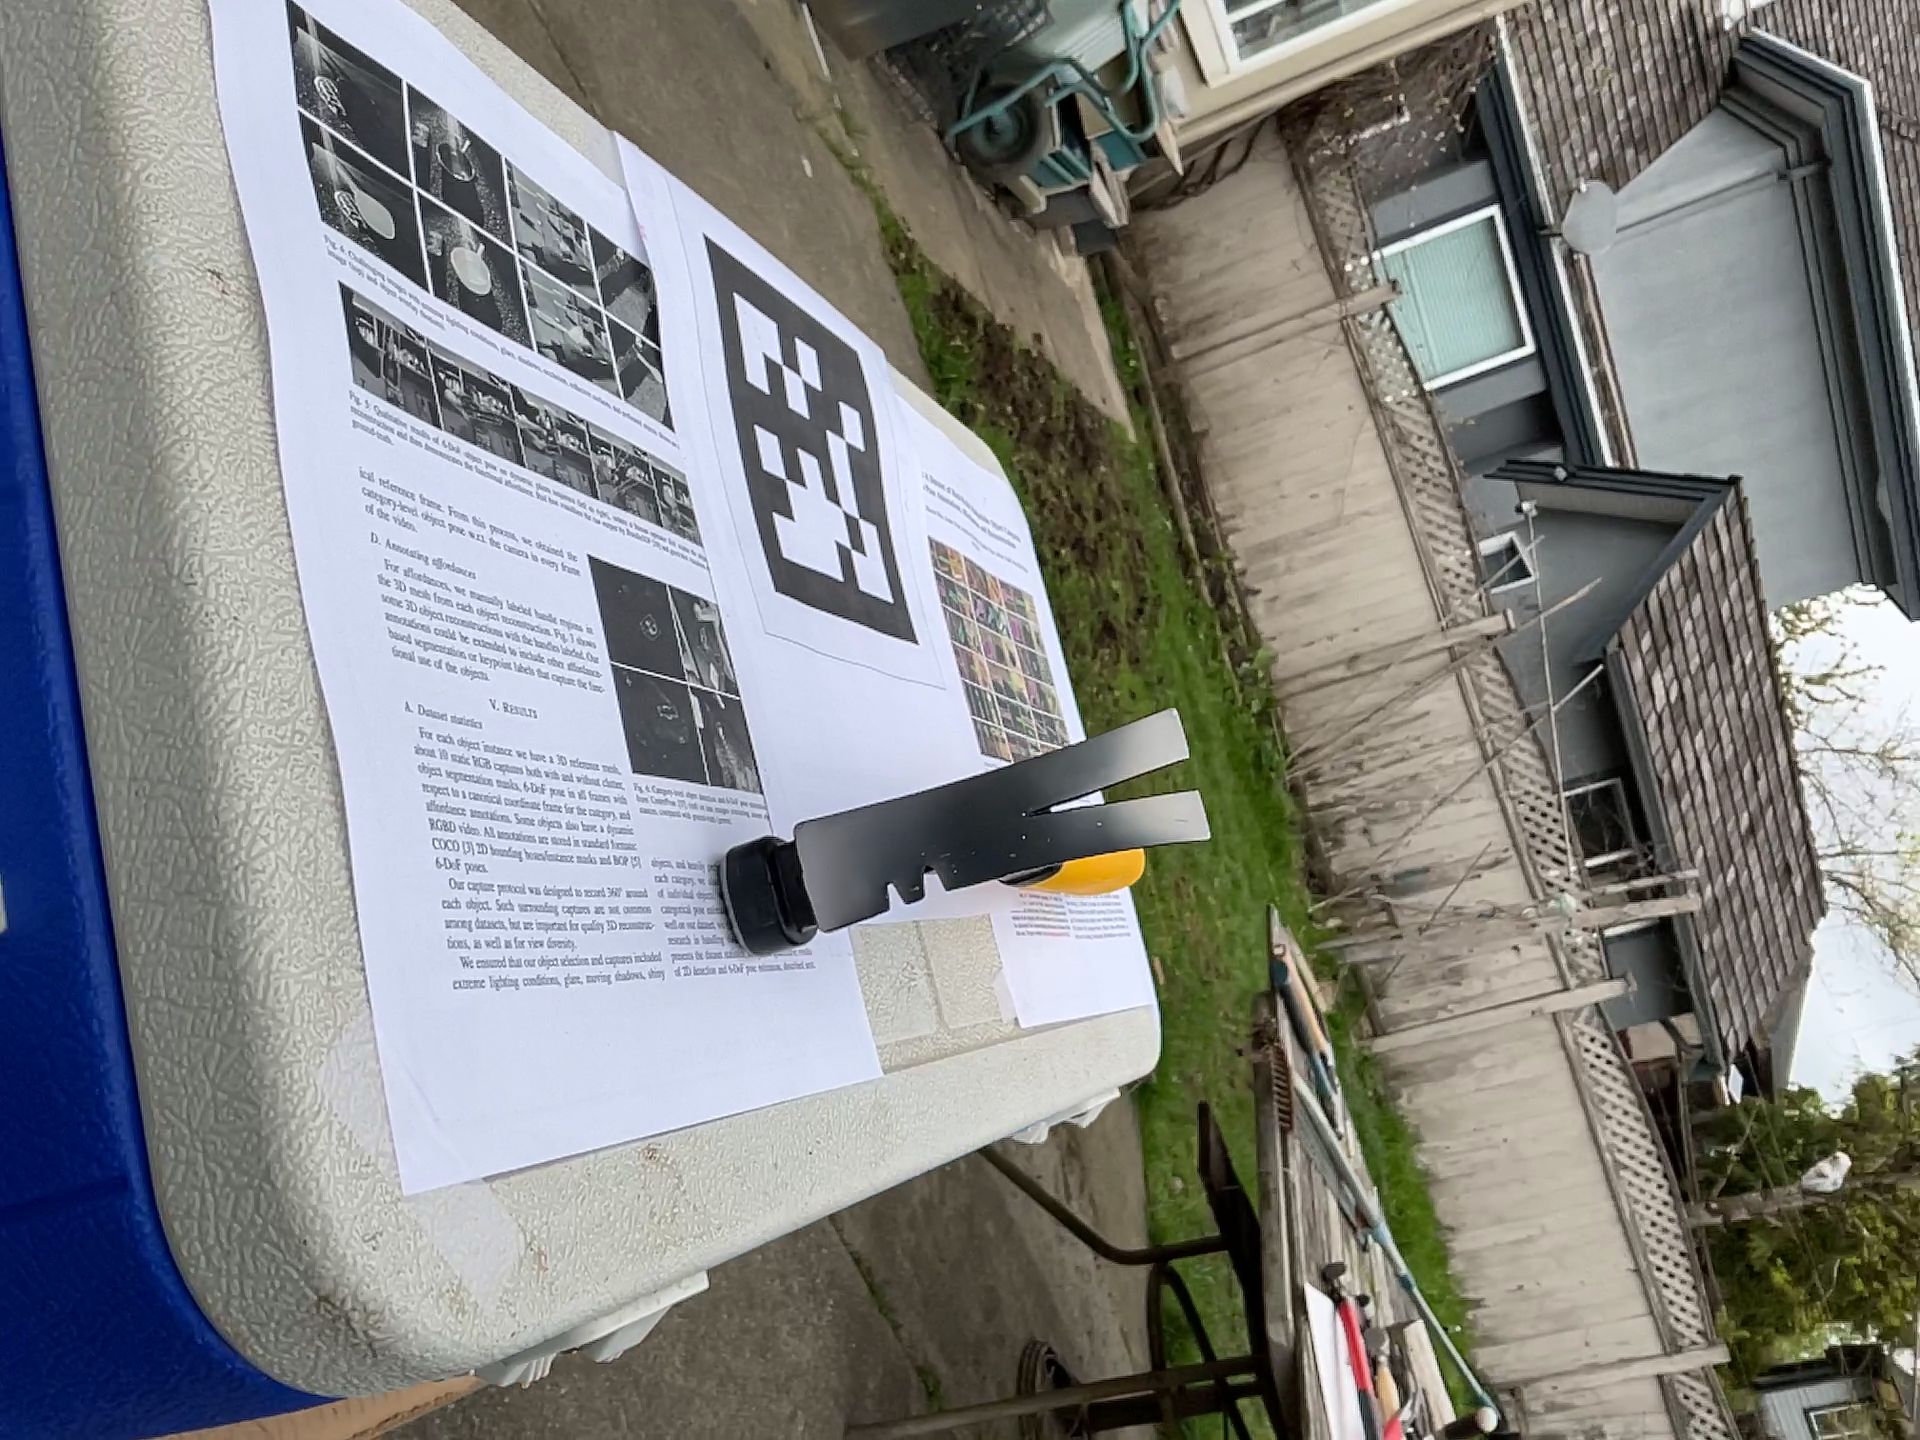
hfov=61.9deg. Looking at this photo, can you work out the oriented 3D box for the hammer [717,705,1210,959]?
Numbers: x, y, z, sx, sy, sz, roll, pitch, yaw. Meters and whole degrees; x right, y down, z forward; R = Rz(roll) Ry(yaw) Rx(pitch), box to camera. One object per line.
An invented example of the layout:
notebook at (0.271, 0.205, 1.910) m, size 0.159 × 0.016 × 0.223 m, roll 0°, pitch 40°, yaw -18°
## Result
hammer at (0.035, 0.045, 0.563) m, size 0.336 × 0.127 × 0.034 m, roll 22°, pitch 51°, yaw -76°
